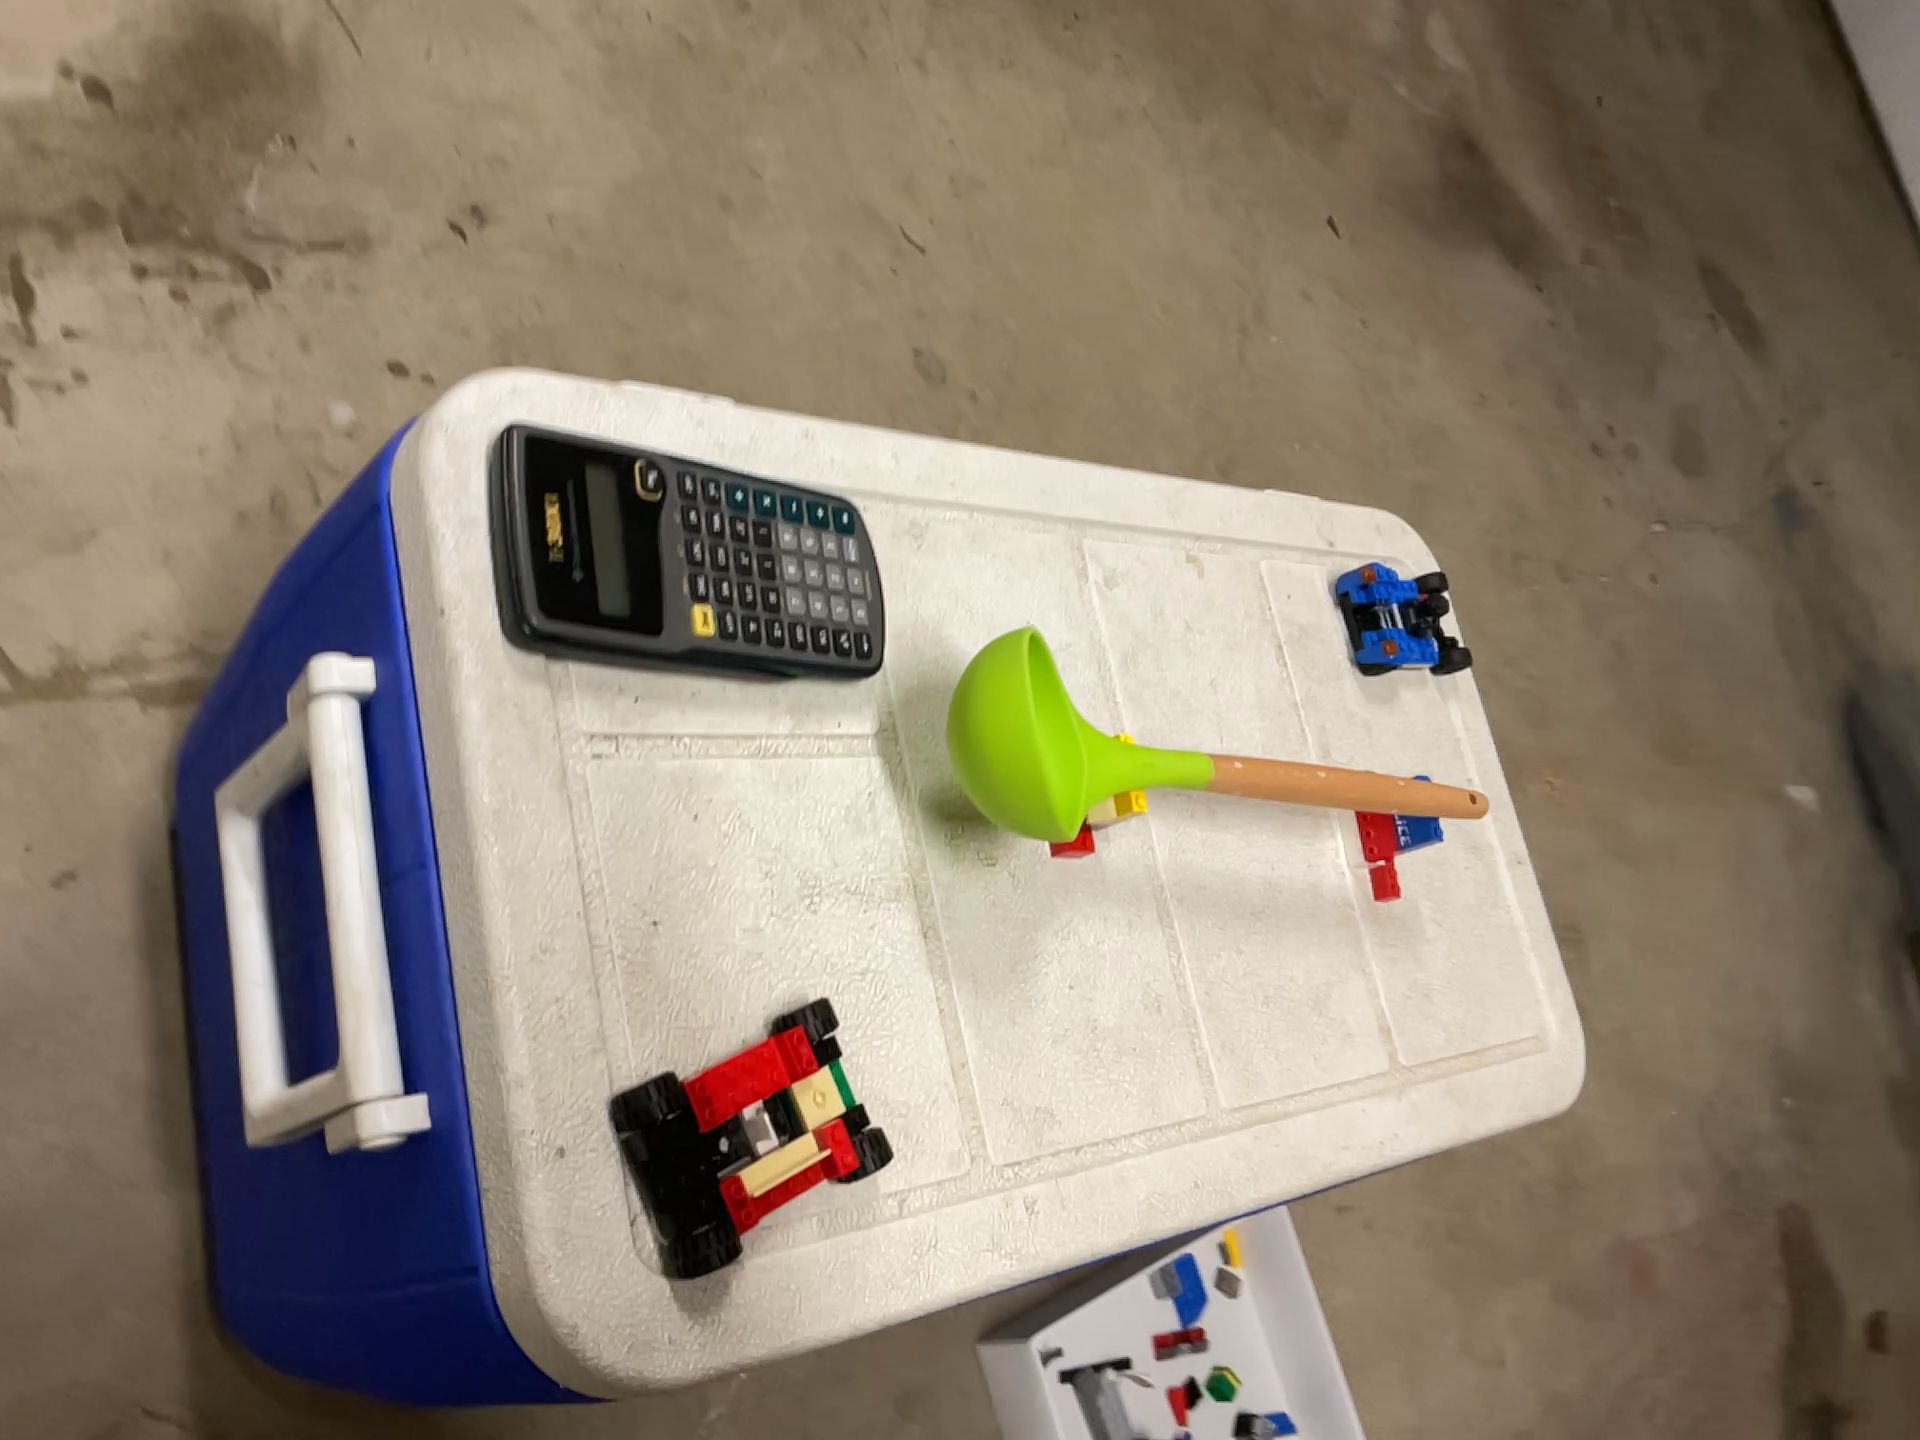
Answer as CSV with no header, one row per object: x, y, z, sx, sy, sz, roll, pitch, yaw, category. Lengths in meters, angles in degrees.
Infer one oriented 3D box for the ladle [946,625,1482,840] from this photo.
0.124,0.019,0.650,0.320,0.062,0.078,8,65,-37,ladle
